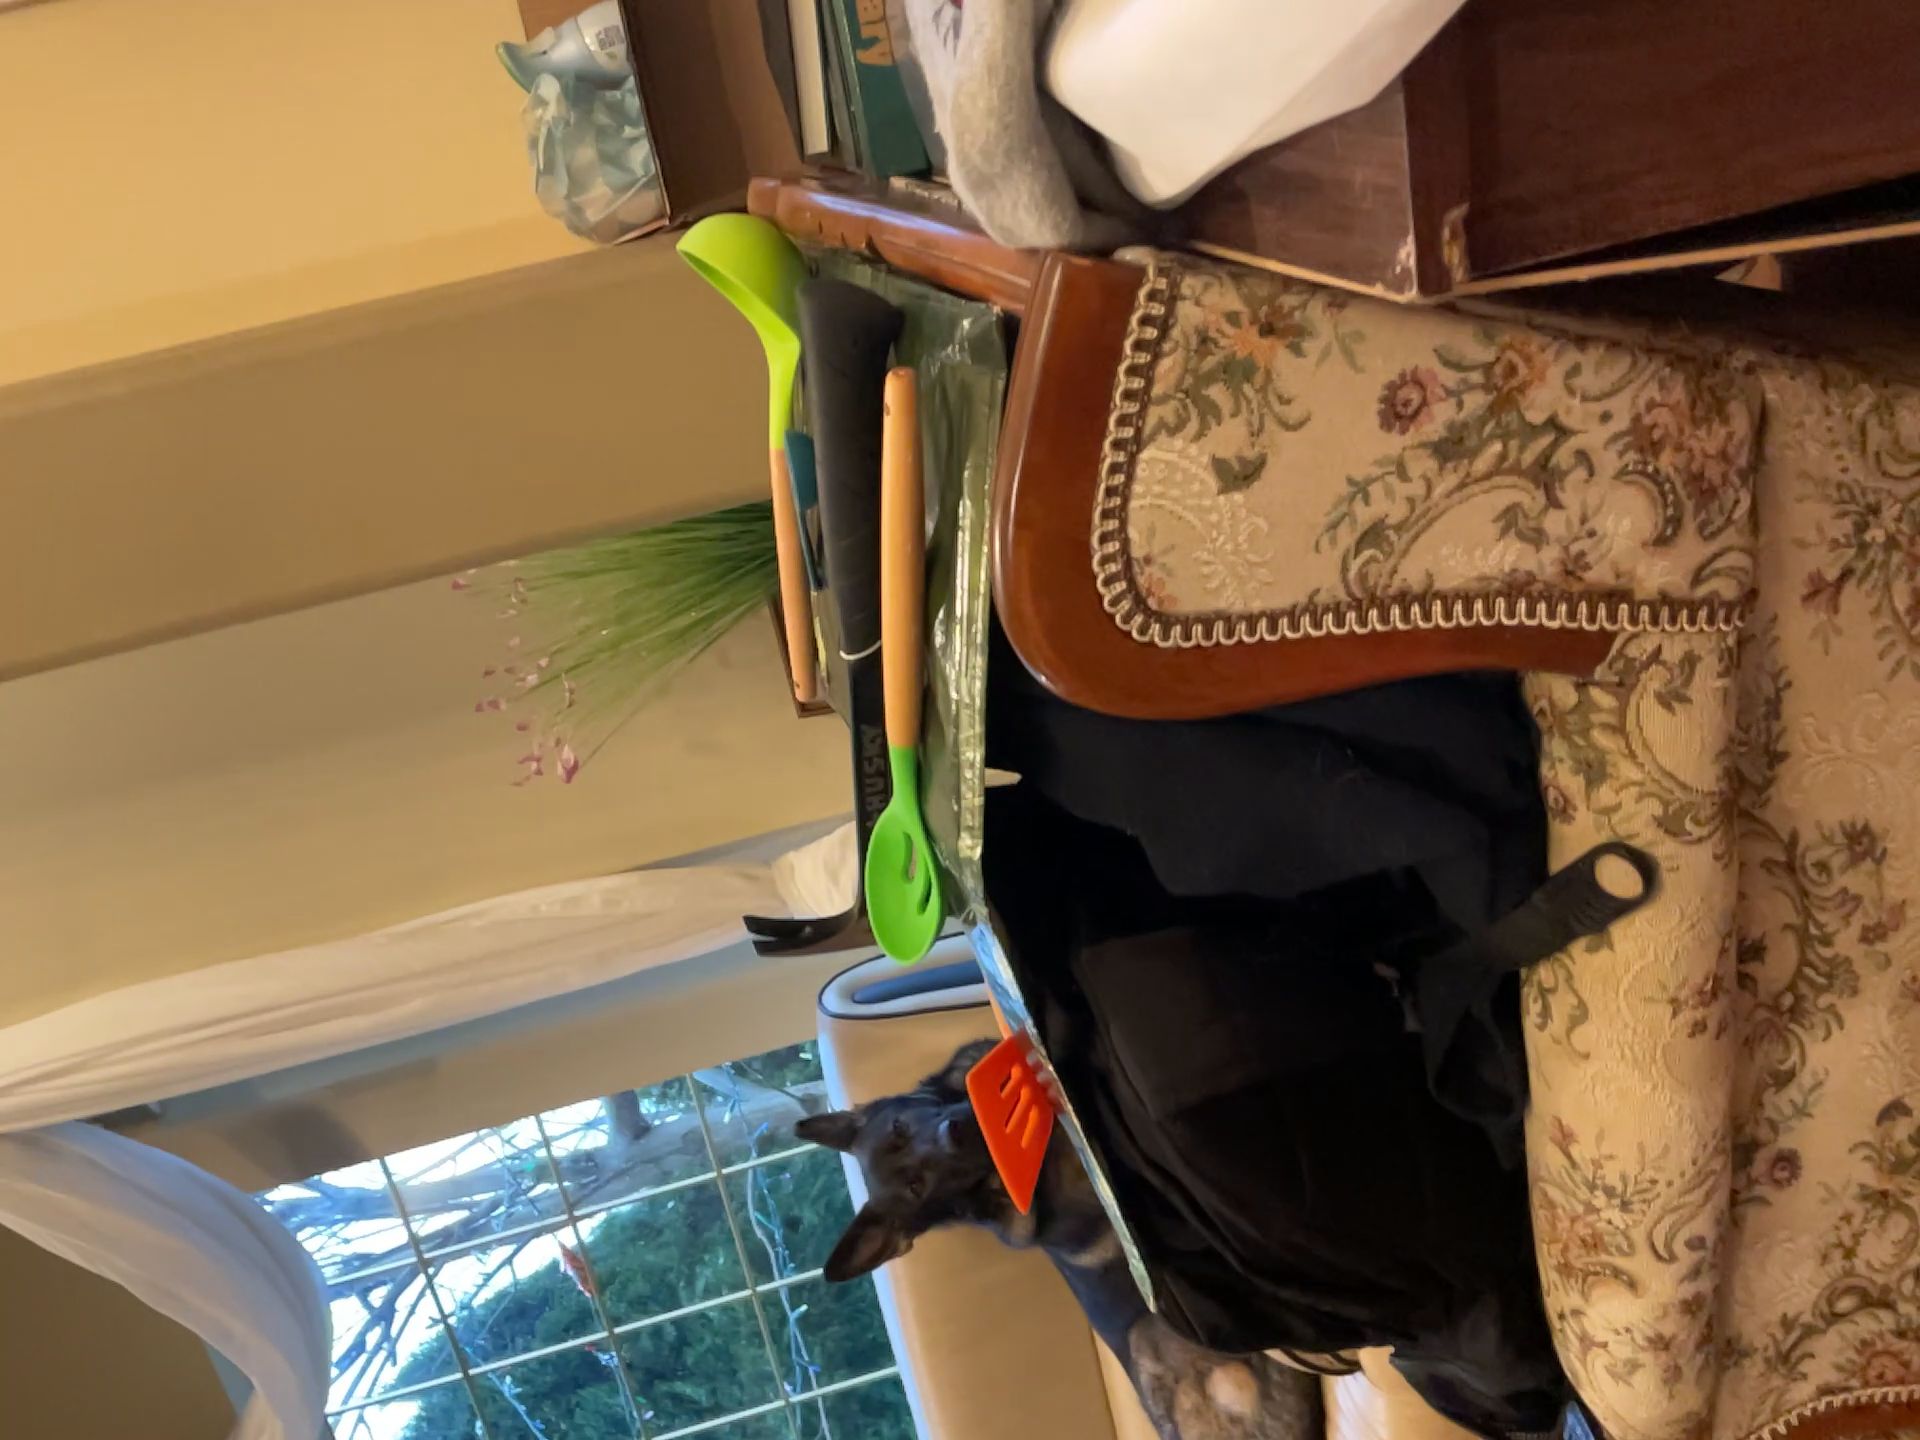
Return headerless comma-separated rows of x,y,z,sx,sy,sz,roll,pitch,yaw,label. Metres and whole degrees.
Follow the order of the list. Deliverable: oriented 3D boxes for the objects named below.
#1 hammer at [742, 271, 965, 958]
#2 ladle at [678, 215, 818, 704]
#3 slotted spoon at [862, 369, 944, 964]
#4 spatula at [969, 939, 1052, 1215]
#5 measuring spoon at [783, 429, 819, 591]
-0.050,-0.028,0.788,0.036,0.149,0.408,-122,23,-45,hammer
-0.106,-0.128,0.888,0.078,0.062,0.320,39,145,36,ladle
-0.024,-0.011,0.712,0.070,0.031,0.313,49,148,43,slotted spoon
0.021,0.180,0.952,0.323,0.041,0.081,-115,3,-78,spatula
-0.076,-0.108,0.843,0.128,0.021,0.042,88,168,-62,measuring spoon
